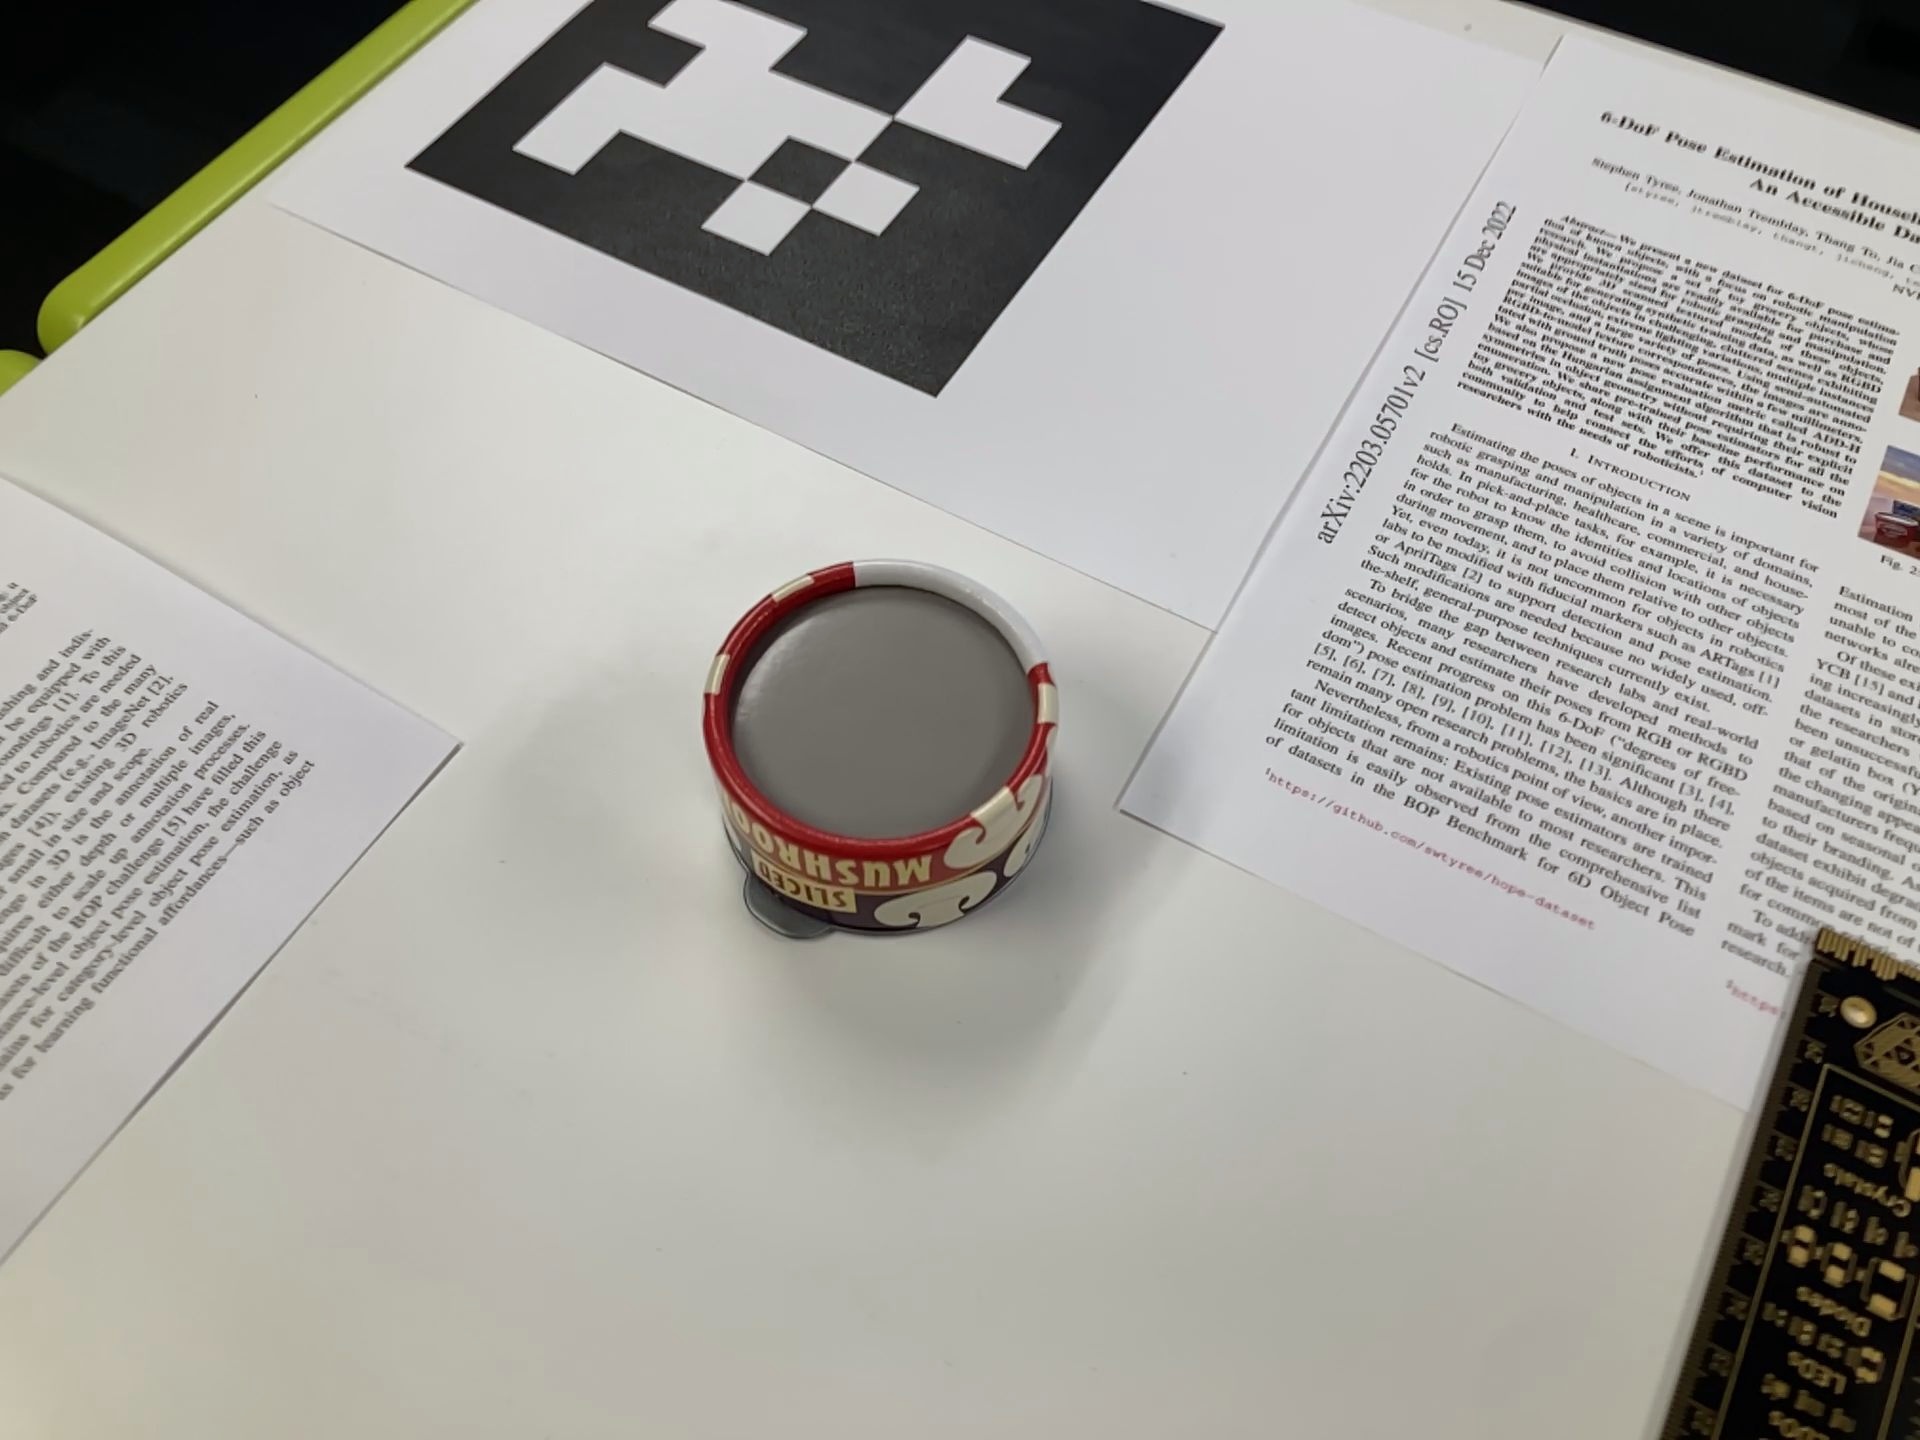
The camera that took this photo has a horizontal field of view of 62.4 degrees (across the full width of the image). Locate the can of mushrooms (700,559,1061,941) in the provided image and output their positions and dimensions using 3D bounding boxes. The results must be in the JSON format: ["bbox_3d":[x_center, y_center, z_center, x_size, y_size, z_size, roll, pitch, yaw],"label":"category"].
[{"bbox_3d":[-0.016,0.006,0.298,0.071,0.033,0.071,0,59,0],"label":"can of mushrooms"}]
